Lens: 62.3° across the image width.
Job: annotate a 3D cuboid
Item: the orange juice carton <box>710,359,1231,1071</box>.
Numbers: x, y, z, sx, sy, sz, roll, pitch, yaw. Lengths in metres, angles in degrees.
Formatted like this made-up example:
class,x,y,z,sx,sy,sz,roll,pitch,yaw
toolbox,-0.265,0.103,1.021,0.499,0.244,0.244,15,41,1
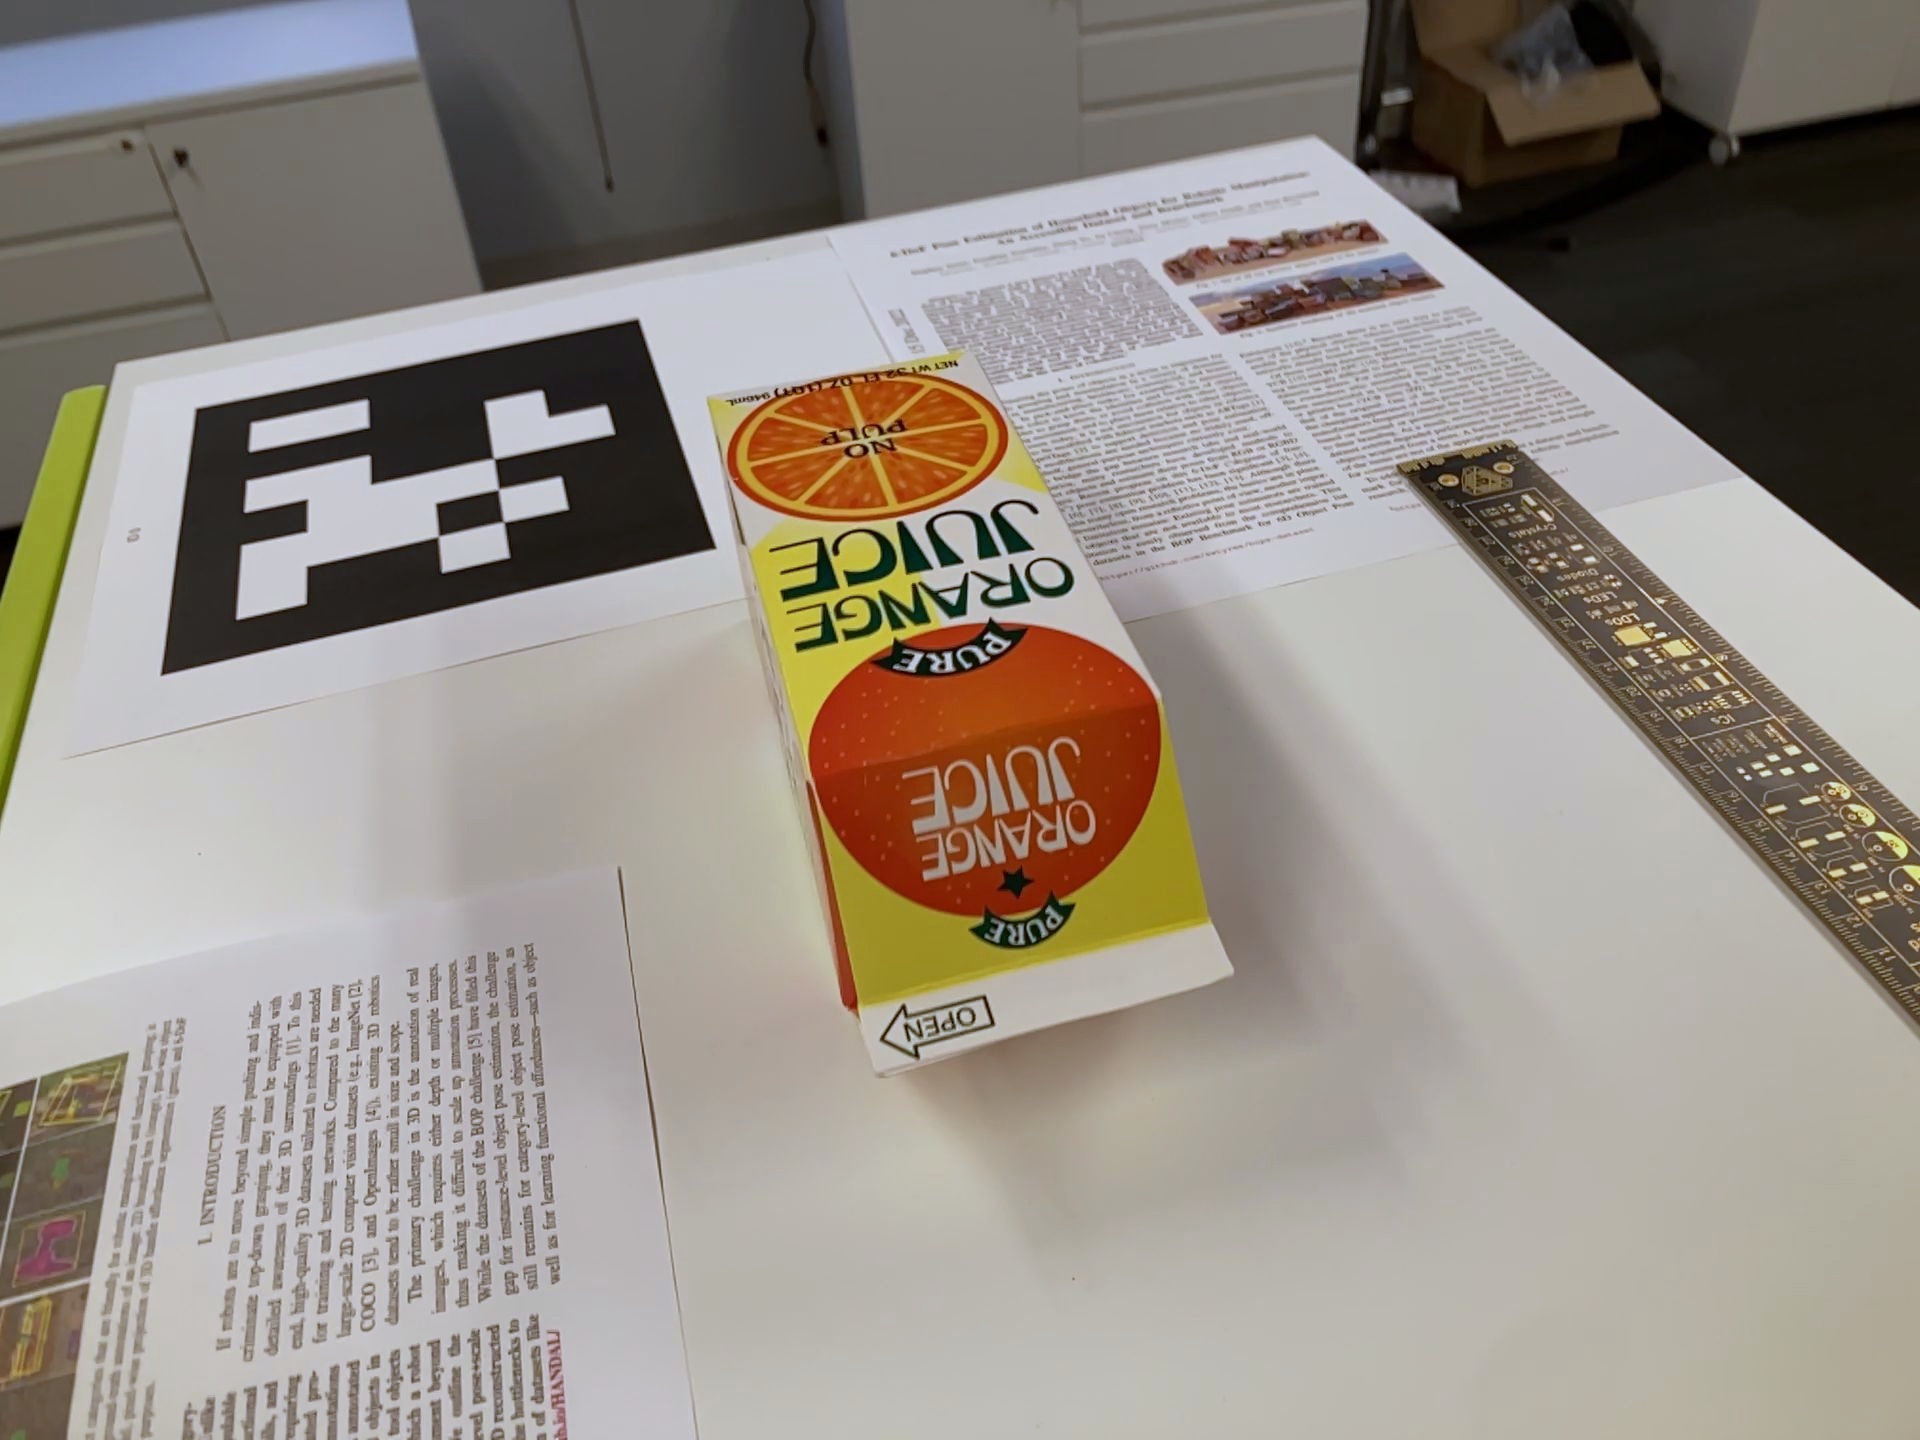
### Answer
class,x,y,z,sx,sy,sz,roll,pitch,yaw
orange juice carton,-0.005,-0.004,0.366,0.072,0.073,0.192,-12,41,-9
